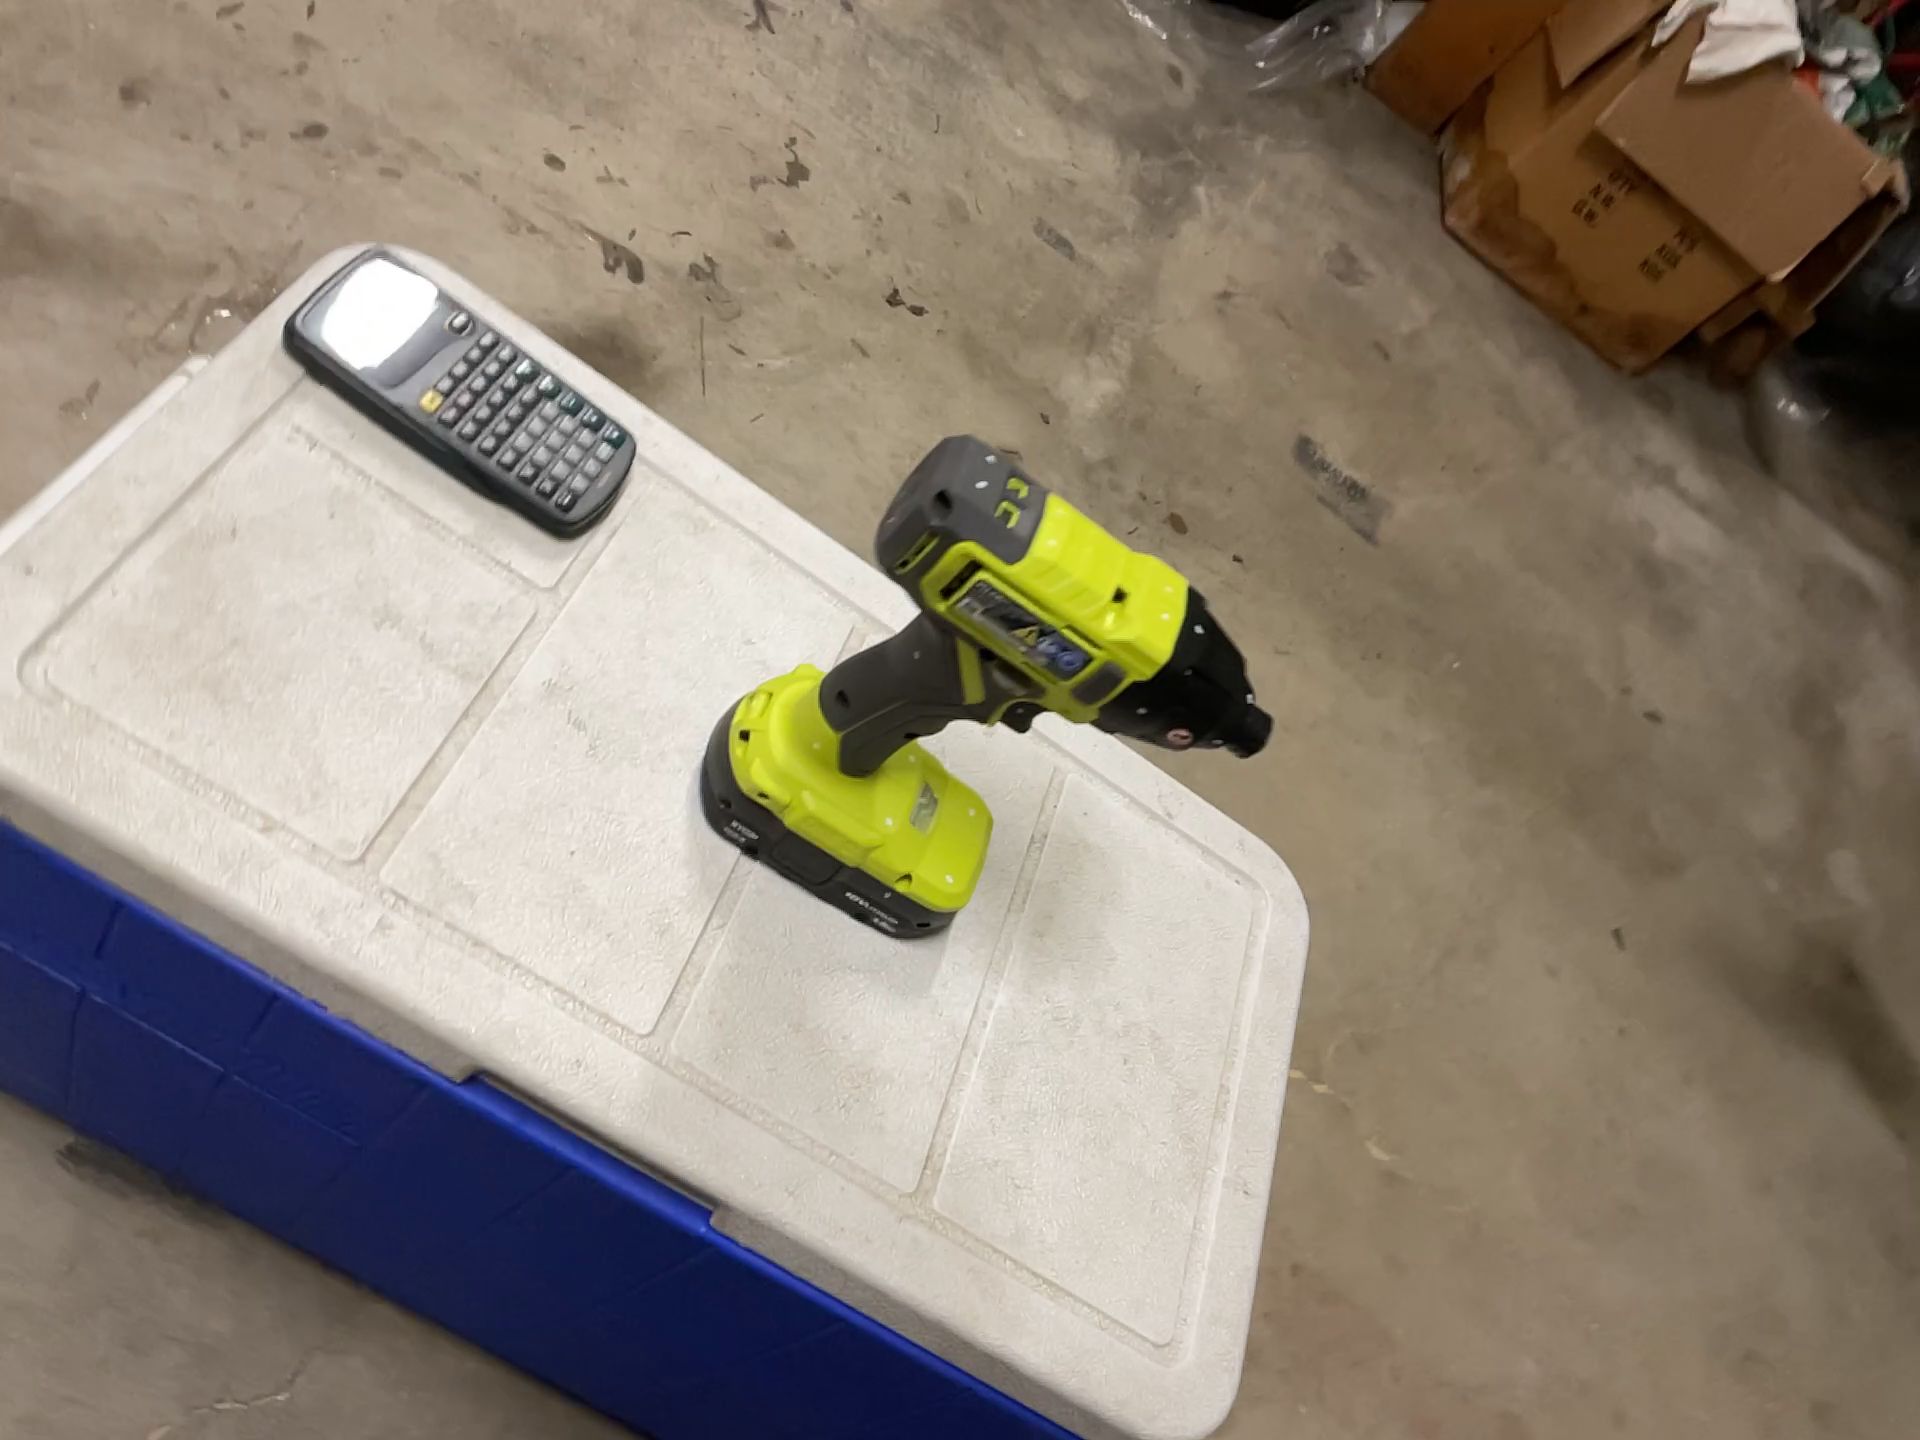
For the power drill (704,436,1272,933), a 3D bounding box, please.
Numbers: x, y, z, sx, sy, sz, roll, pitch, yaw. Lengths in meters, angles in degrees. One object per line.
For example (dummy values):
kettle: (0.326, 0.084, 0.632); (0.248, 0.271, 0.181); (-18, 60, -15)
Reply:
power drill: (0.004, 0.000, 0.665); (0.171, 0.223, 0.080); (34, 47, -16)
